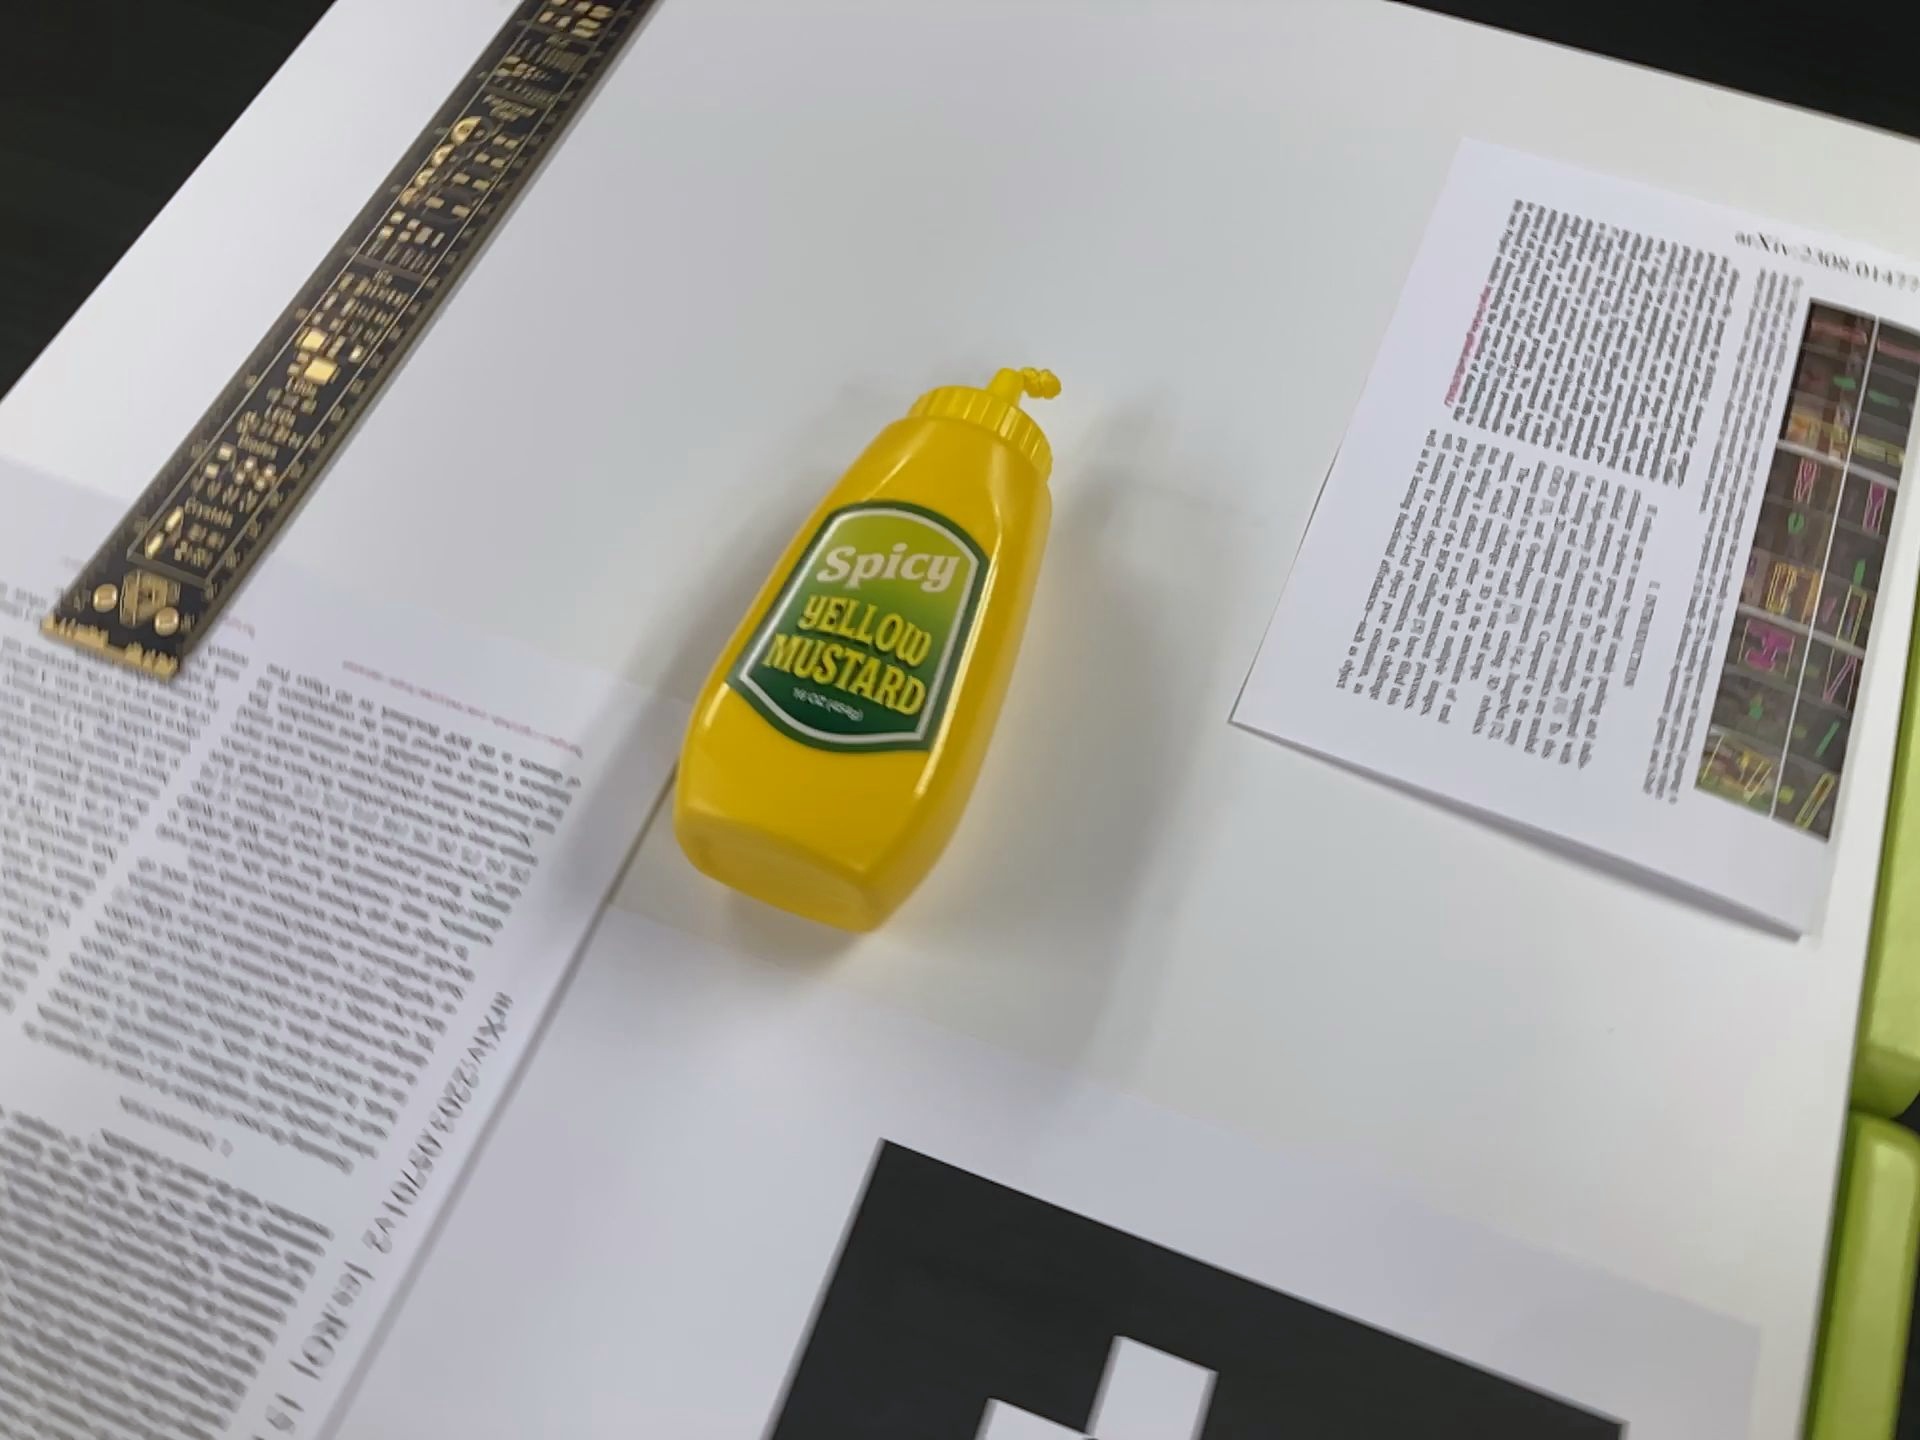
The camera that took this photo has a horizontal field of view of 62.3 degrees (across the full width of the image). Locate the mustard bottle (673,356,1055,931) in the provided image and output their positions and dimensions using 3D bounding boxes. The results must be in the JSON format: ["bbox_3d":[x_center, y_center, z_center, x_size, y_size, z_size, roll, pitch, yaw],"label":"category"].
[{"bbox_3d":[-0.013,-0.032,0.381,0.065,0.049,0.160,19,64,7],"label":"mustard bottle"}]
